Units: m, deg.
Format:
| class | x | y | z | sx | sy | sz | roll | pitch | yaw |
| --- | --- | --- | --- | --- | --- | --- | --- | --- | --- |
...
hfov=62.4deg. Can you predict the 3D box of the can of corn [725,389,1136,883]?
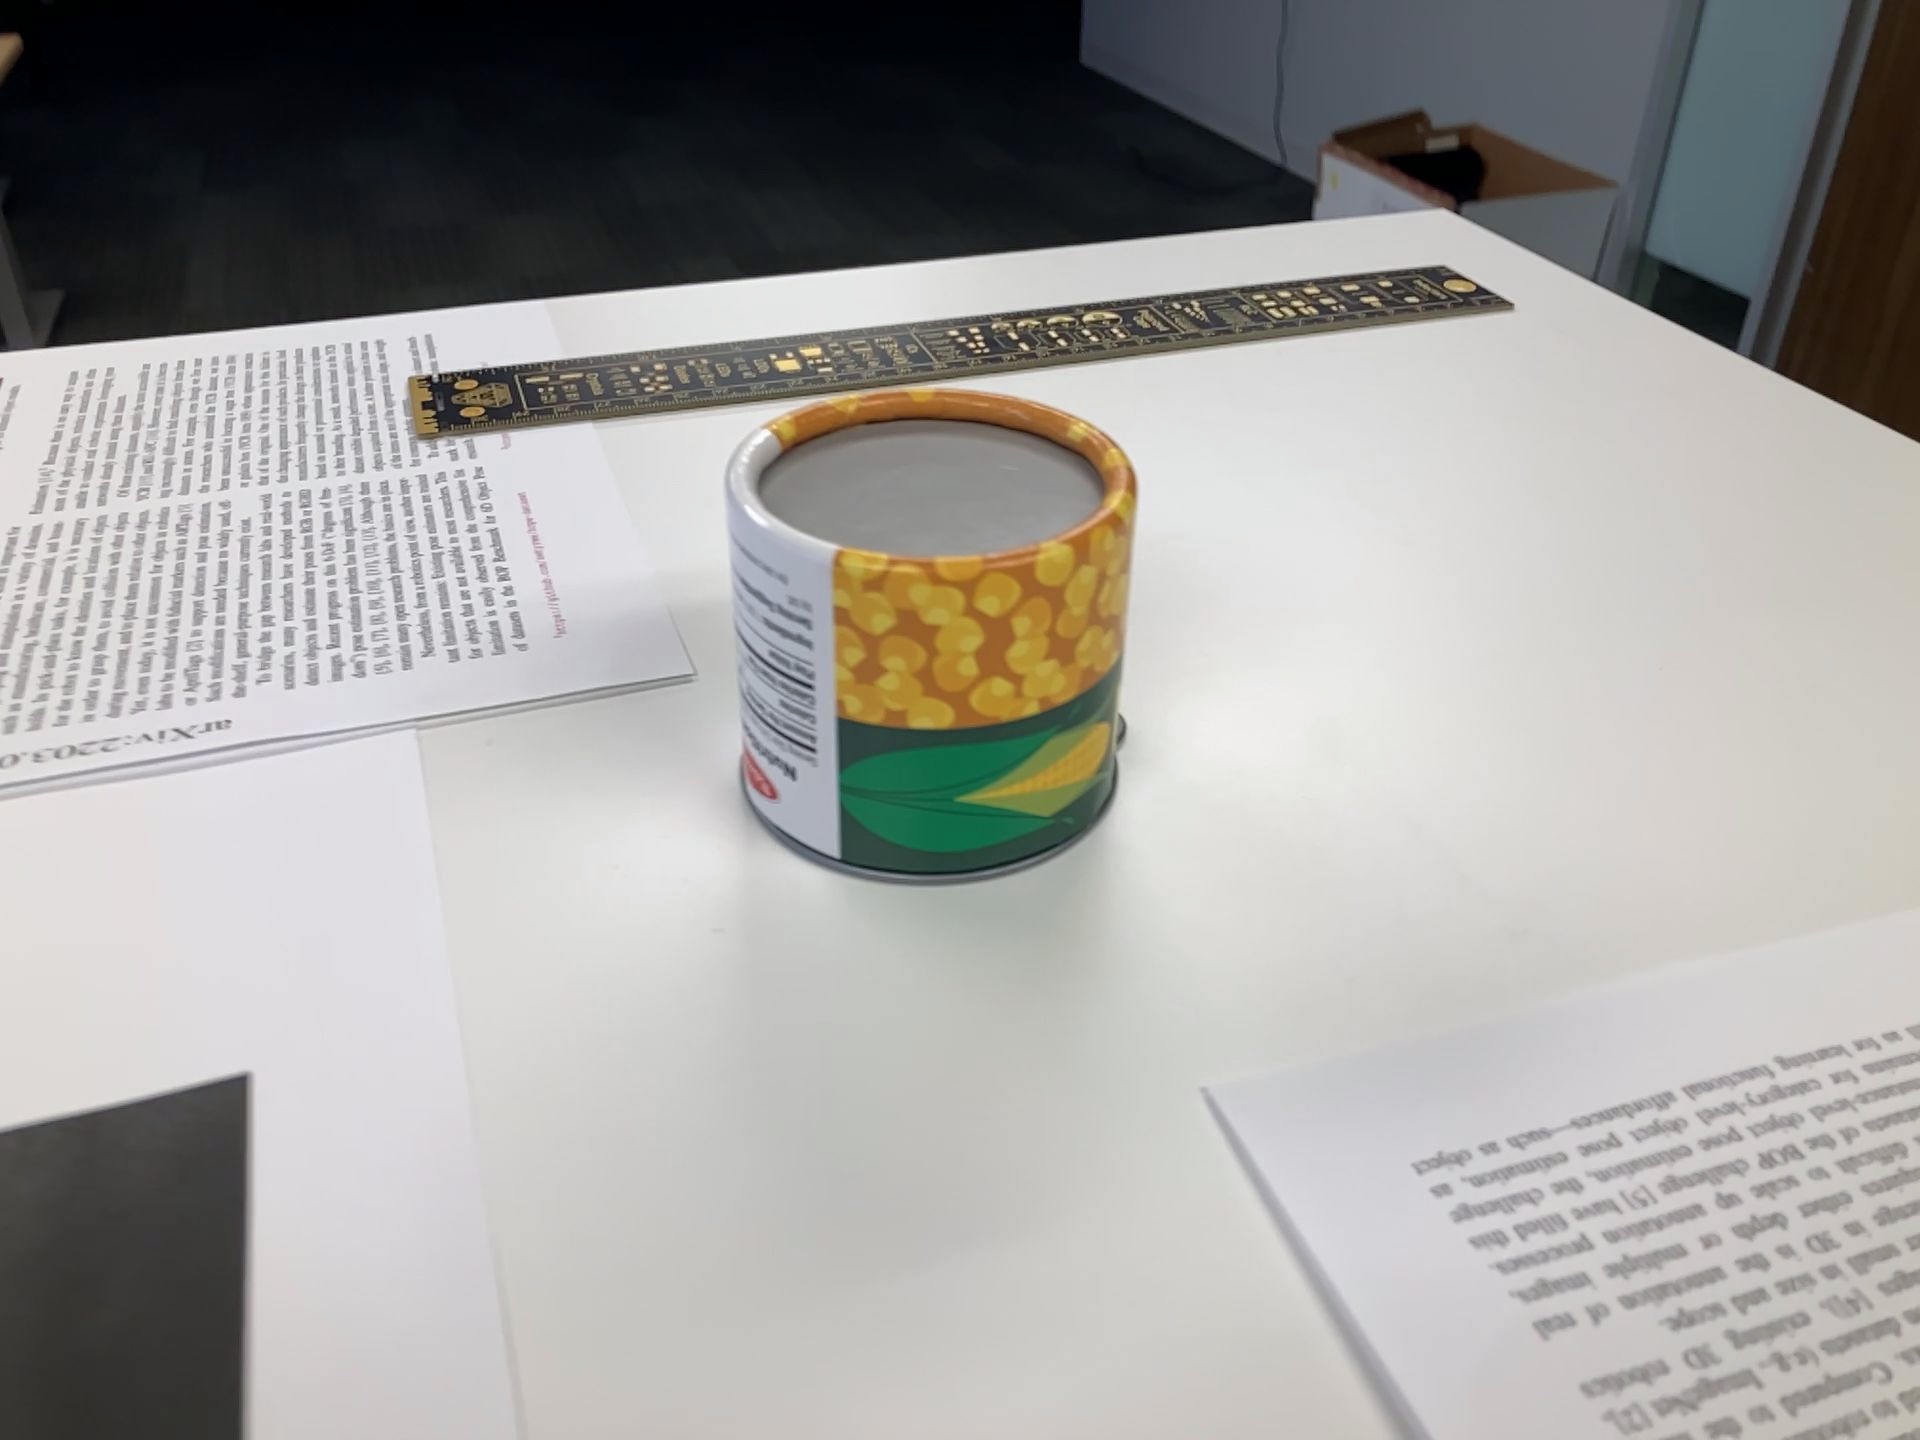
| class | x | y | z | sx | sy | sz | roll | pitch | yaw |
| --- | --- | --- | --- | --- | --- | --- | --- | --- | --- |
| can of corn | -0.003 | -0.017 | 0.266 | 0.071 | 0.058 | 0.071 | 1 | 34 | 0 |
